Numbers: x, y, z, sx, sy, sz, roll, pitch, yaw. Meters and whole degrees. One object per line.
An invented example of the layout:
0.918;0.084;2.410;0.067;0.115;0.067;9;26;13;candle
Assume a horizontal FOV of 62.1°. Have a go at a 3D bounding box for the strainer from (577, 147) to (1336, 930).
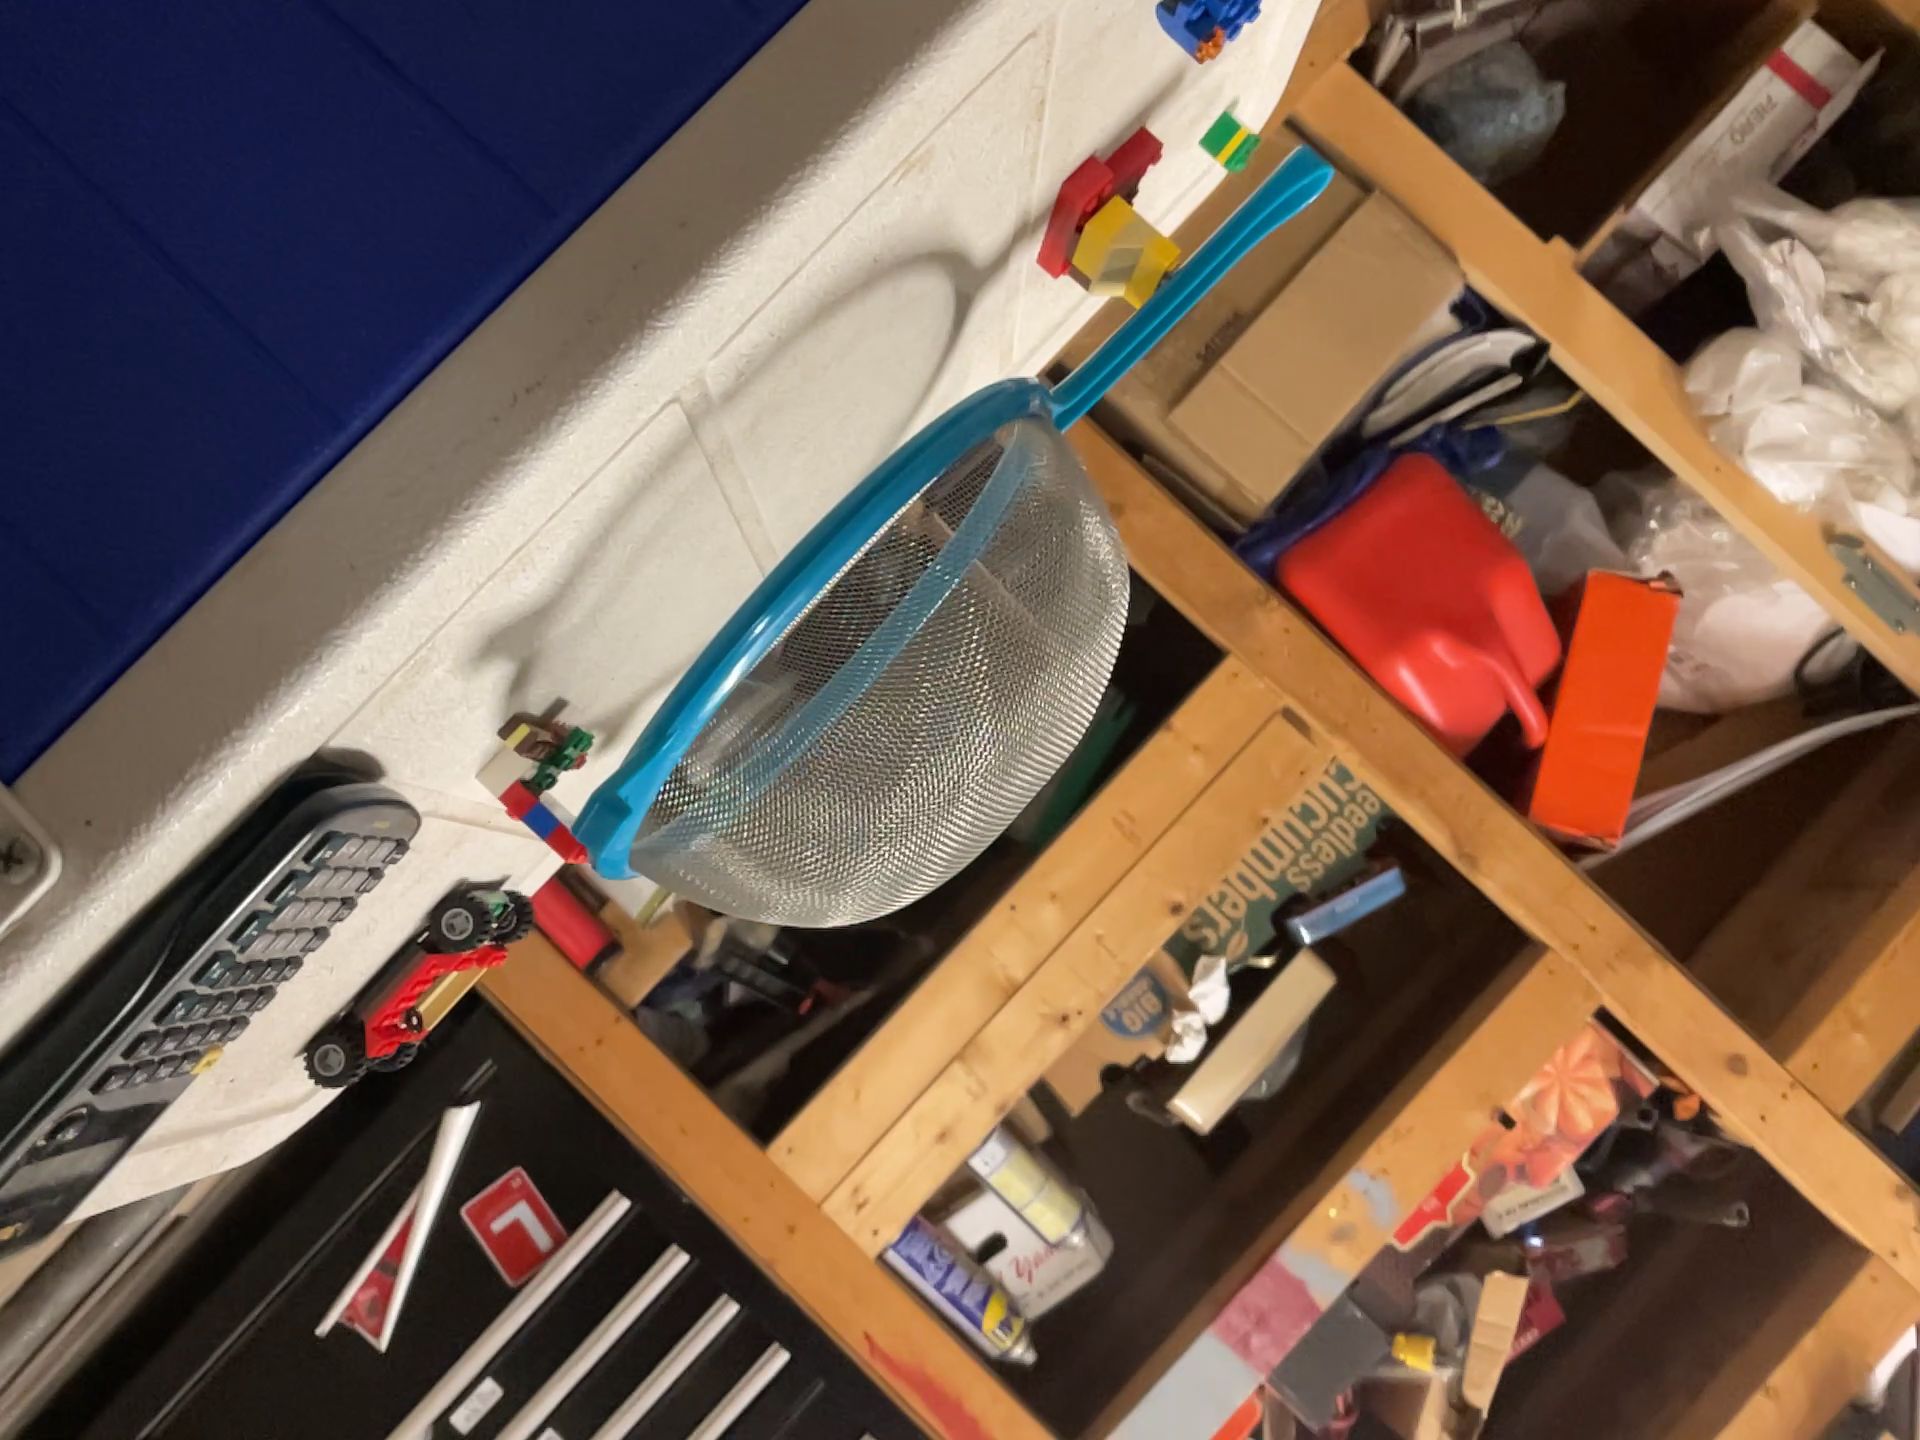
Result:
0.032;-0.047;0.526;0.340;0.095;0.211;-46;176;-8;strainer
